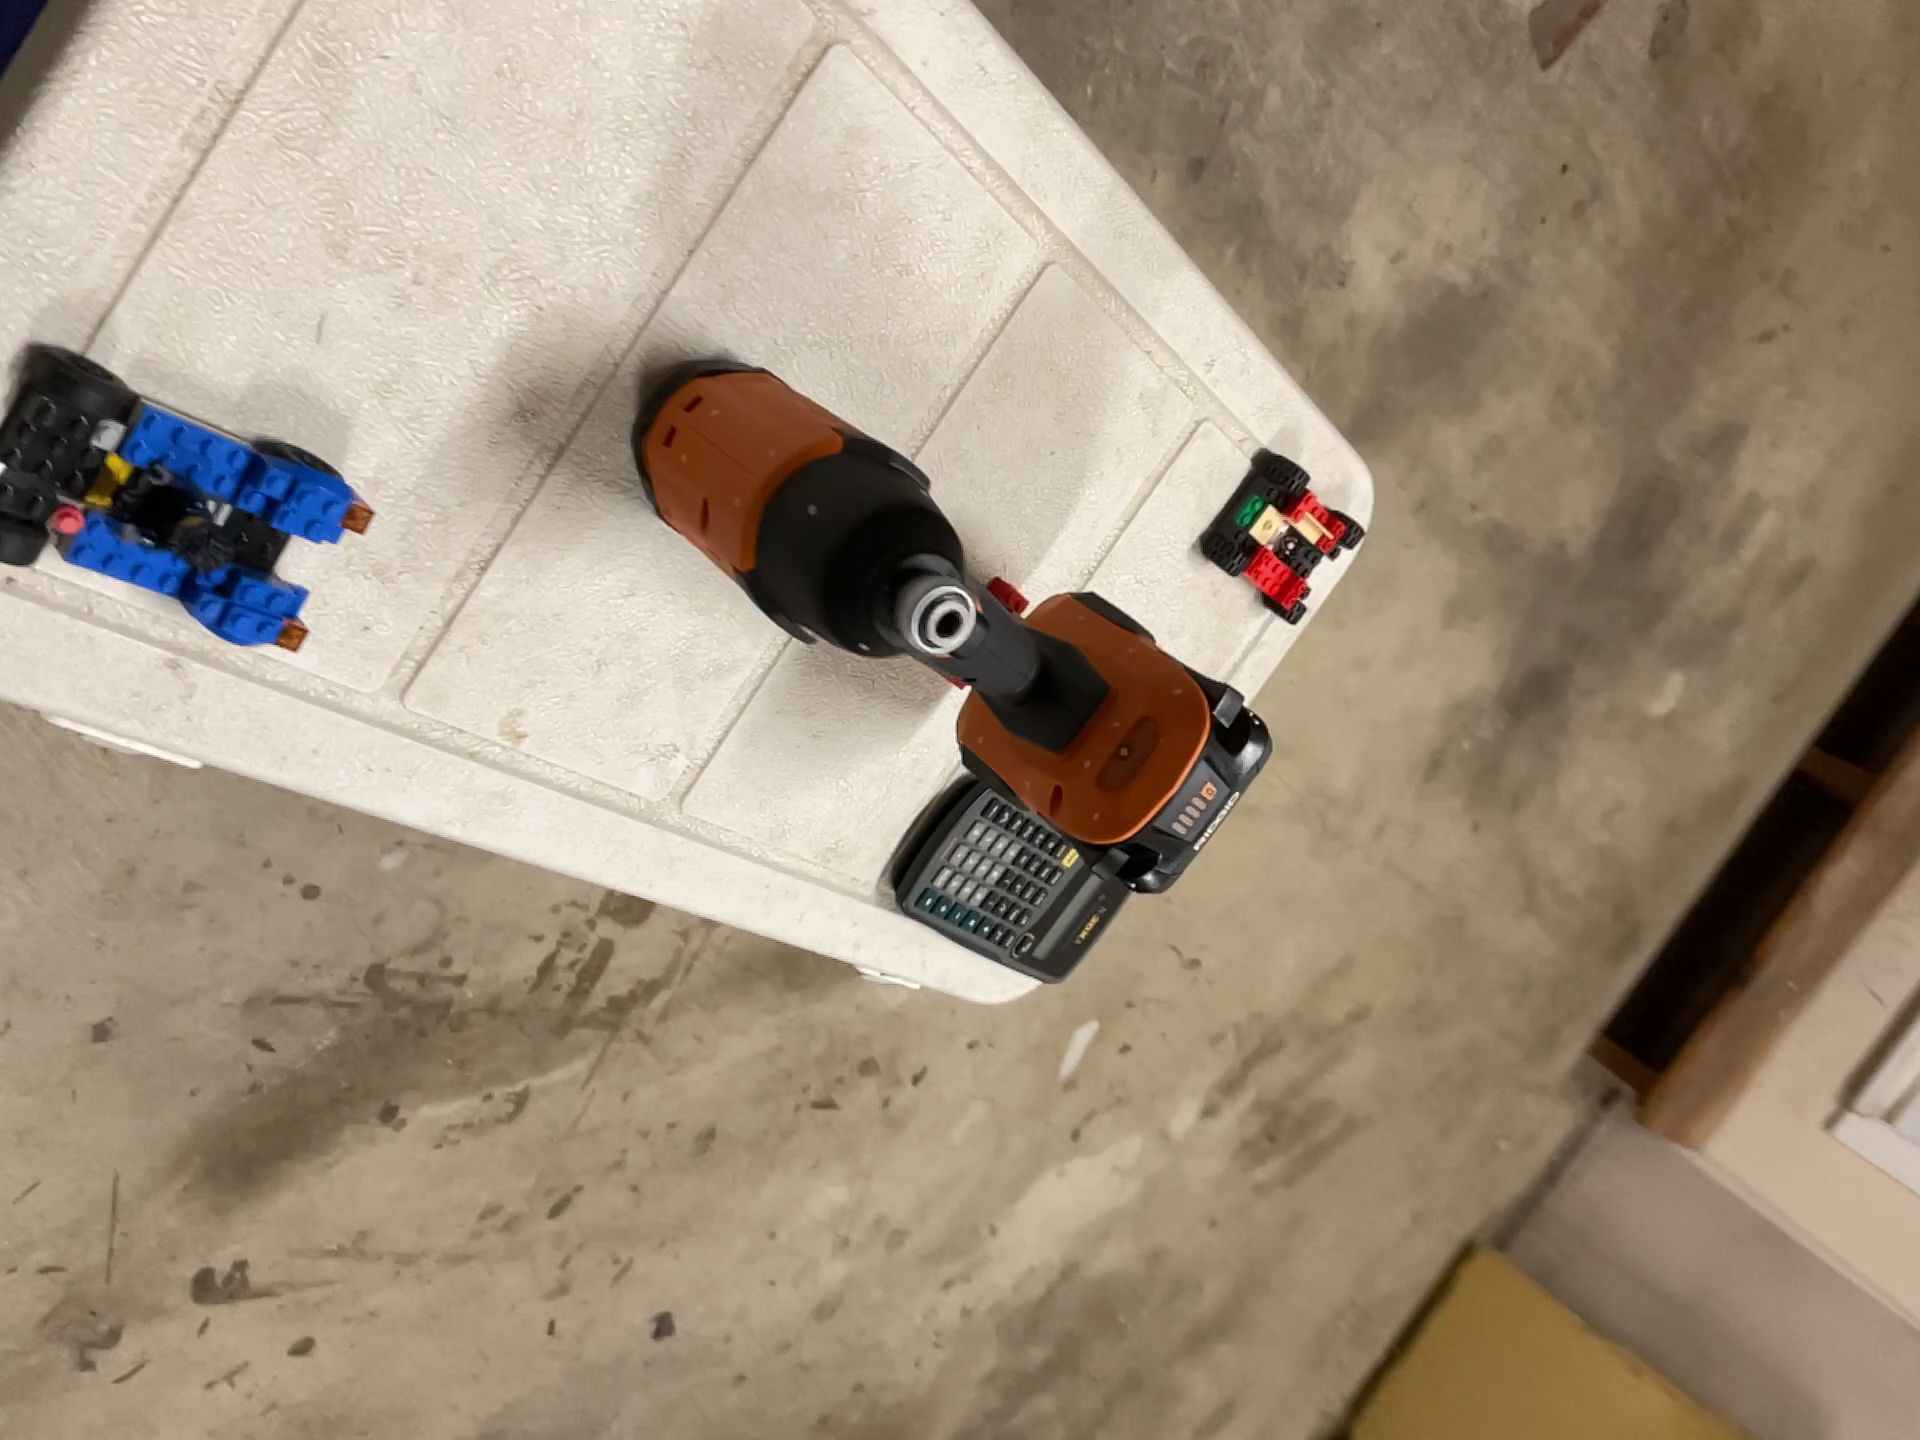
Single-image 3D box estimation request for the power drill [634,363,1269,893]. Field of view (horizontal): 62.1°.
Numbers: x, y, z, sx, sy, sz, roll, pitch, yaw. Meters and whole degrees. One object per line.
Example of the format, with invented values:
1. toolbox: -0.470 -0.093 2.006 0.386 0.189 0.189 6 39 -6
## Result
1. power drill: 0.007 -0.025 0.543 0.226 0.164 0.084 34 94 -40
